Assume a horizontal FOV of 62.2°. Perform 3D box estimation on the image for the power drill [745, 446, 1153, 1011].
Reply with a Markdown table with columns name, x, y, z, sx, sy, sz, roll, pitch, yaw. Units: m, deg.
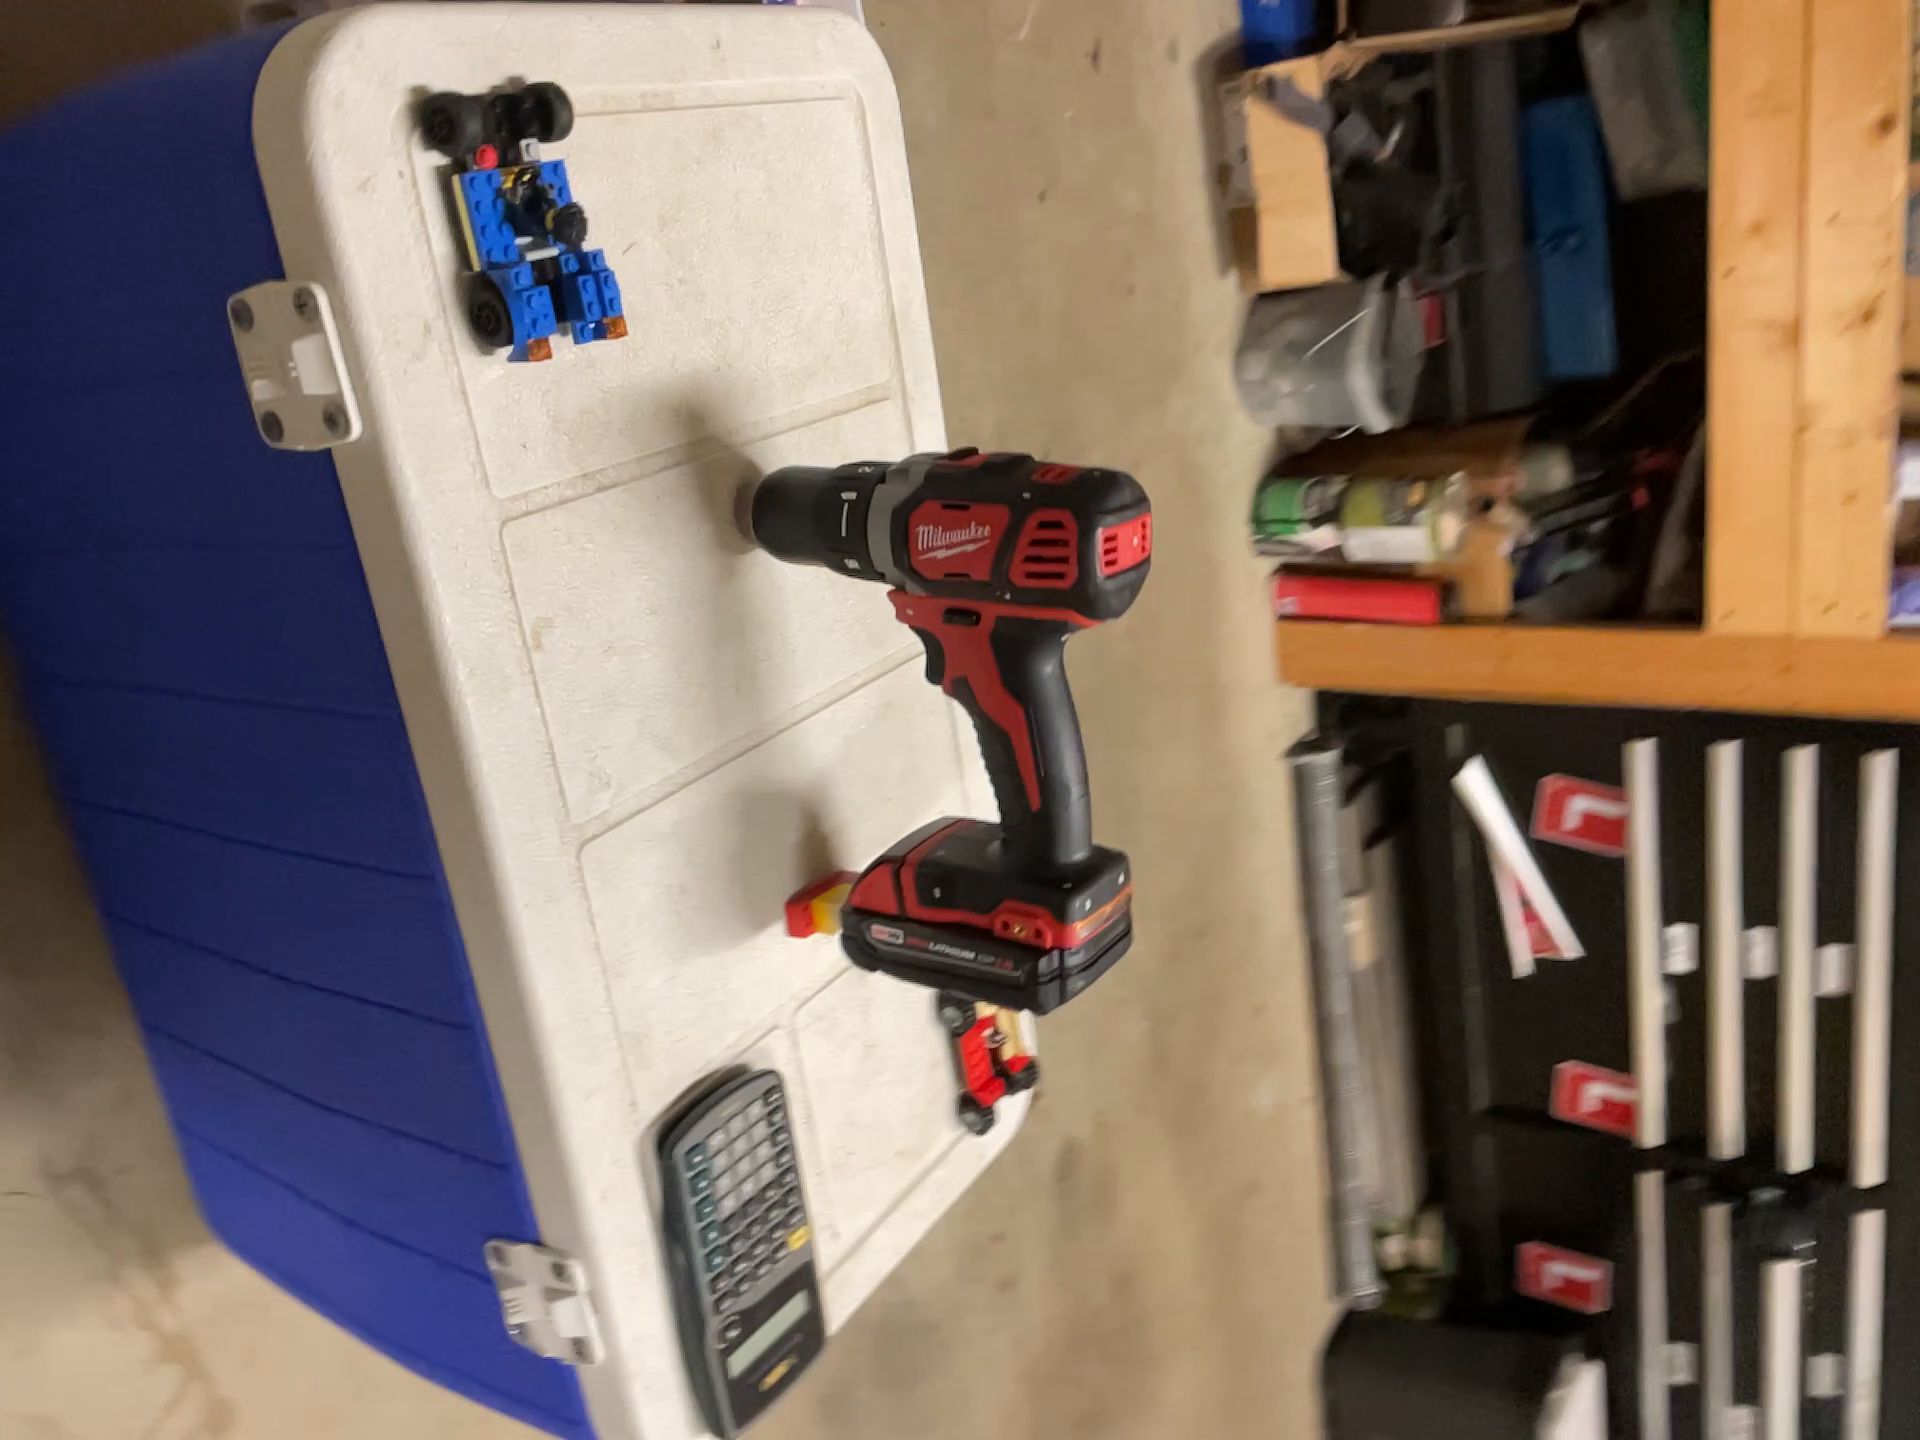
| name | x | y | z | sx | sy | sz | roll | pitch | yaw |
| --- | --- | --- | --- | --- | --- | --- | --- | --- | --- |
| power drill | -0.009 | -0.006 | 0.690 | 0.080 | 0.188 | 0.226 | -26 | 120 | -52 |
